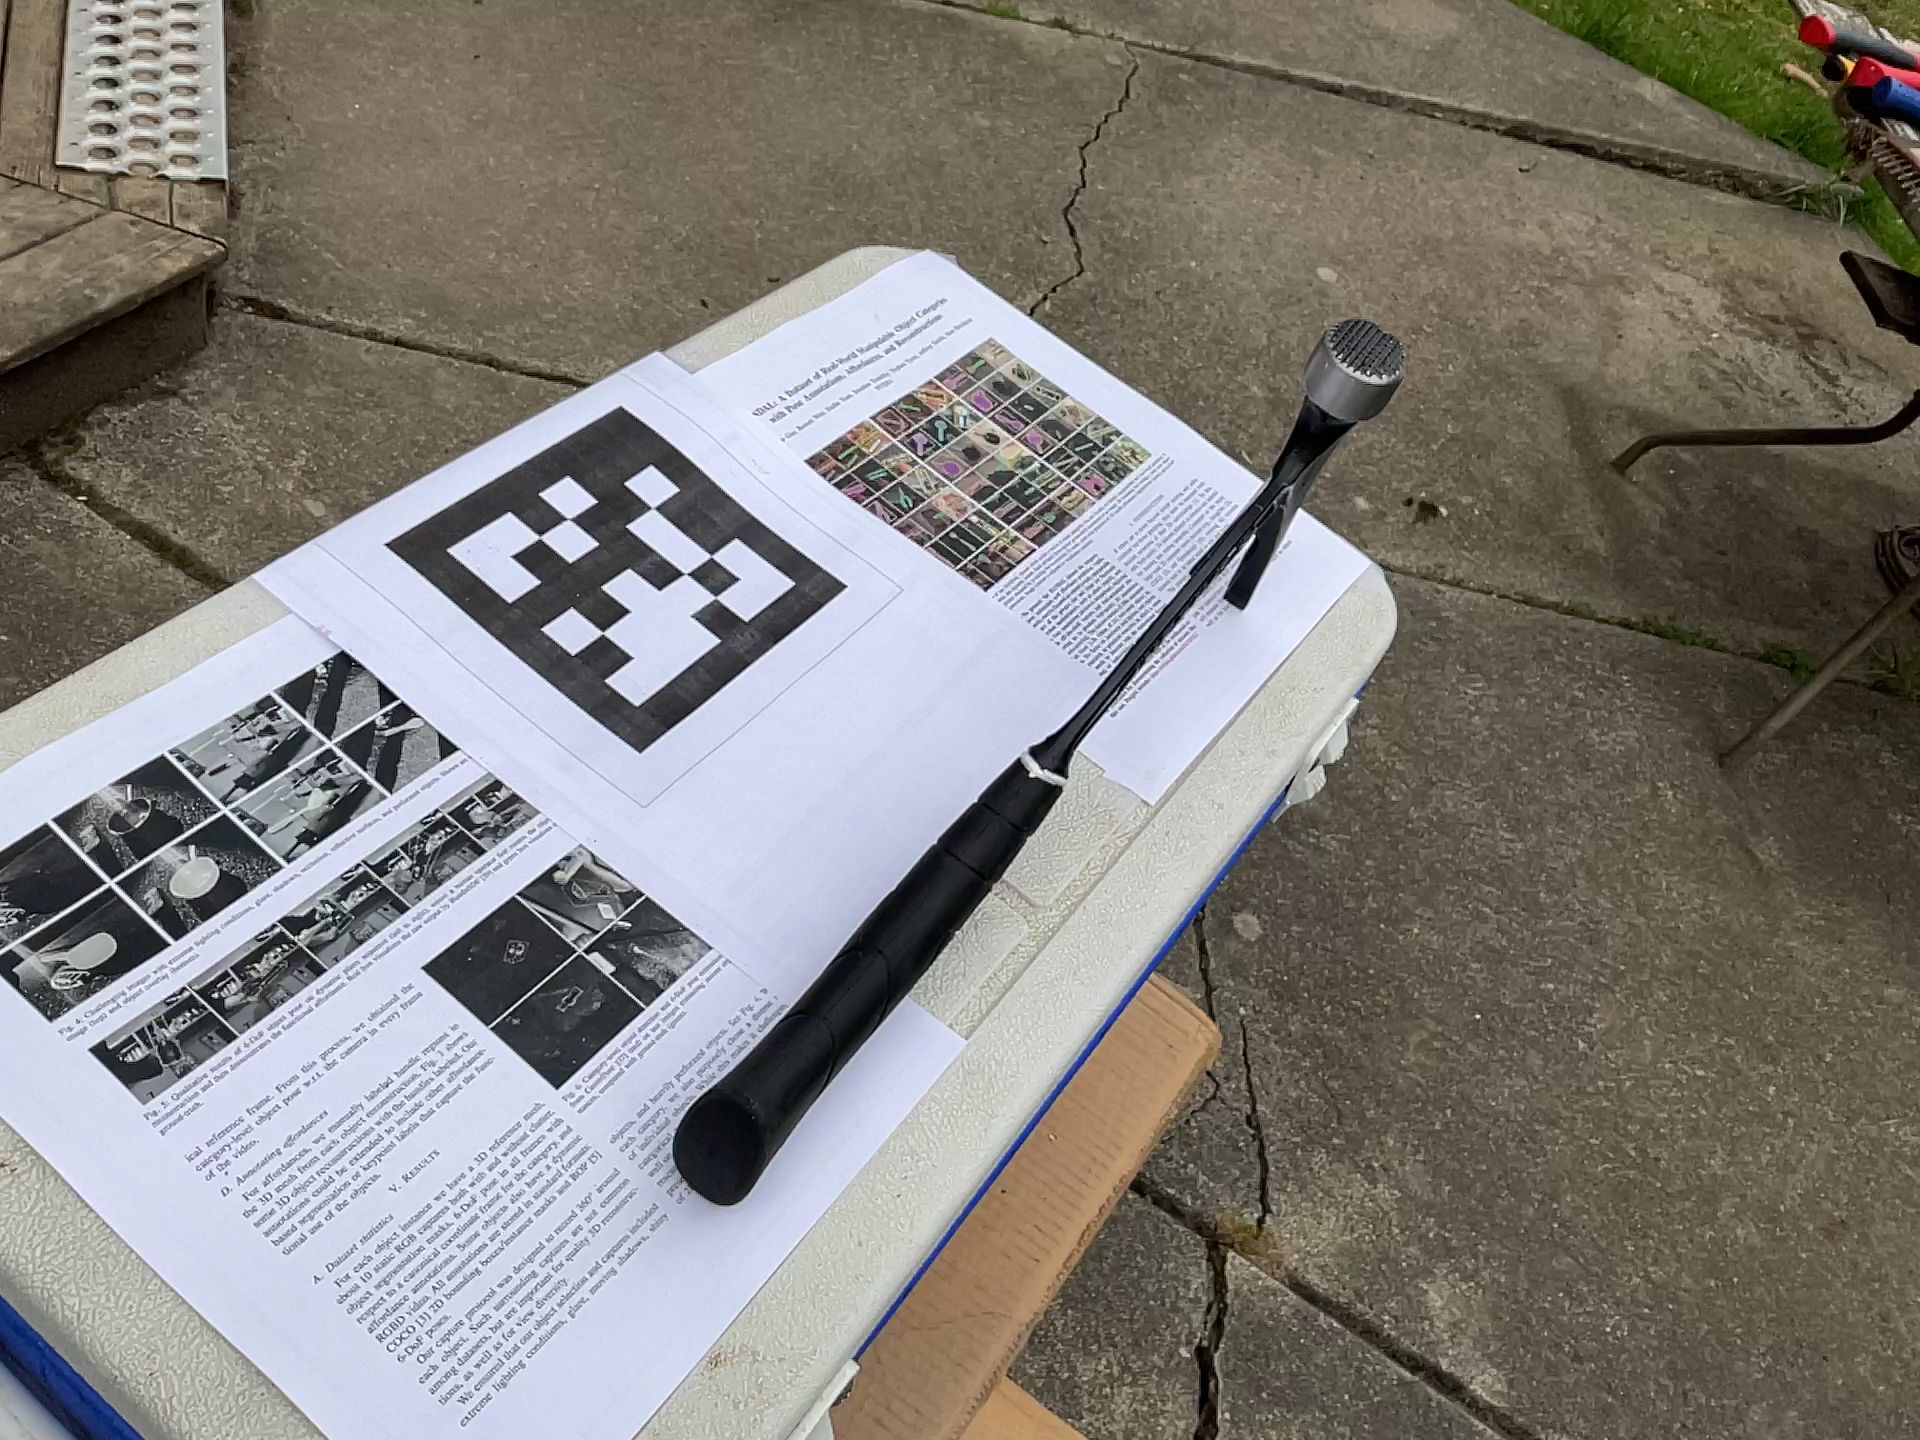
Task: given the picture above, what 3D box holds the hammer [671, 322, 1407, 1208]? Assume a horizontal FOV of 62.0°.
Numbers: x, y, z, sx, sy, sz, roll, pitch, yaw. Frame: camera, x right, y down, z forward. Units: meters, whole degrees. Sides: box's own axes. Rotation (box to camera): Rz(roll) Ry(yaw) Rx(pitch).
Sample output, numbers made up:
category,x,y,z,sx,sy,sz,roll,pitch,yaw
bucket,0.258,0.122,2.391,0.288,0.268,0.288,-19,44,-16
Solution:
category,x,y,z,sx,sy,sz,roll,pitch,yaw
hammer,0.038,0.010,0.586,0.036,0.149,0.409,37,57,9
